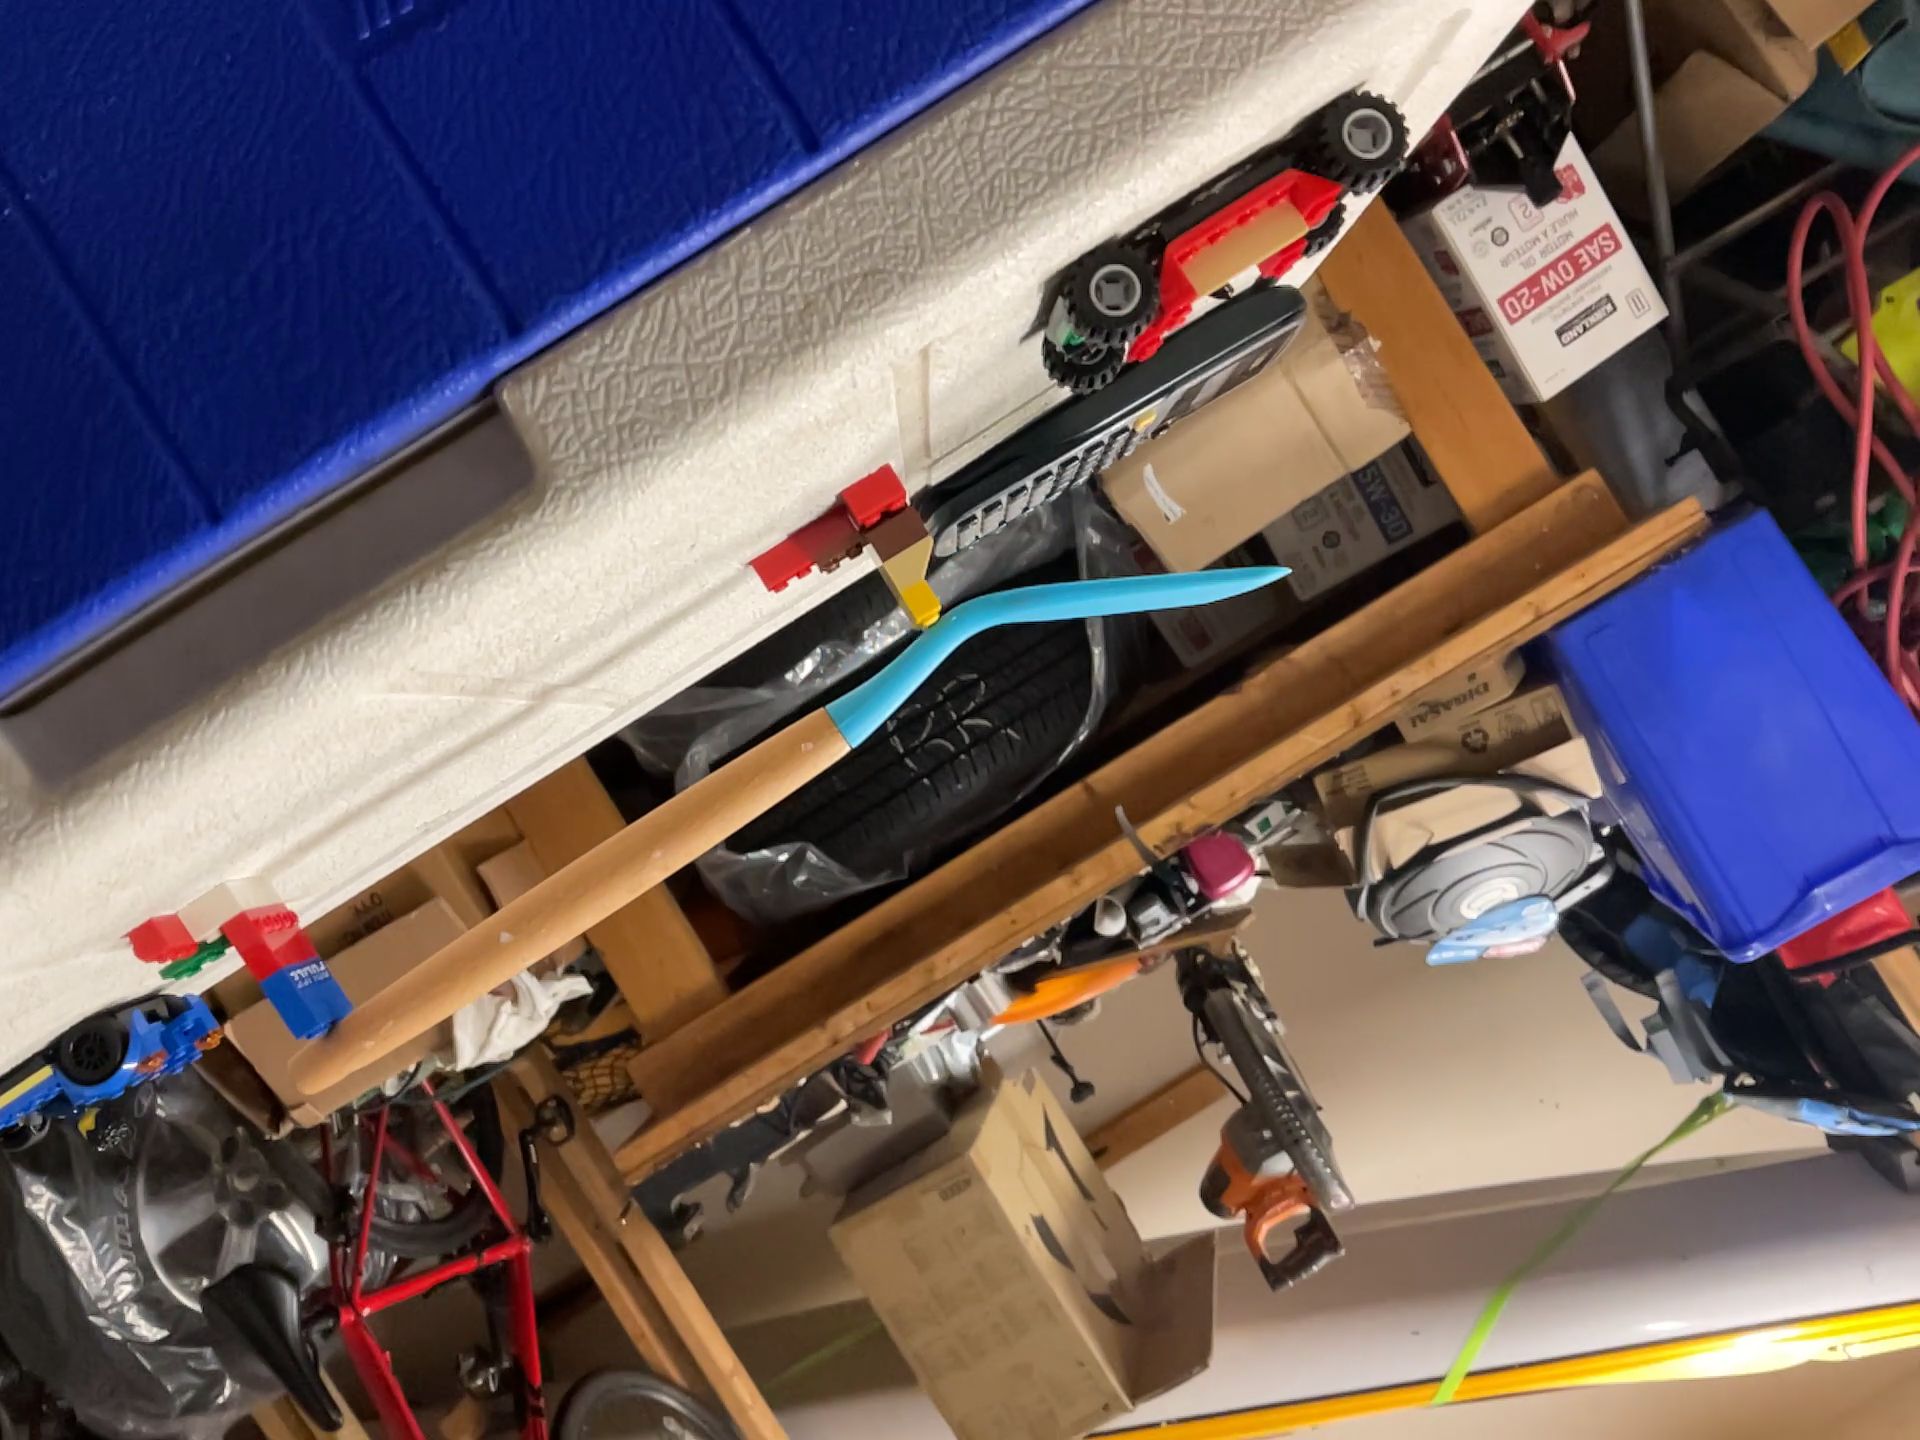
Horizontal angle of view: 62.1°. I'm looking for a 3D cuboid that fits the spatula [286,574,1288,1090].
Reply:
[{"bbox_3d":[-0.054,0.026,0.470,0.317,0.044,0.082,-33,-177,-3],"label":"spatula"}]
